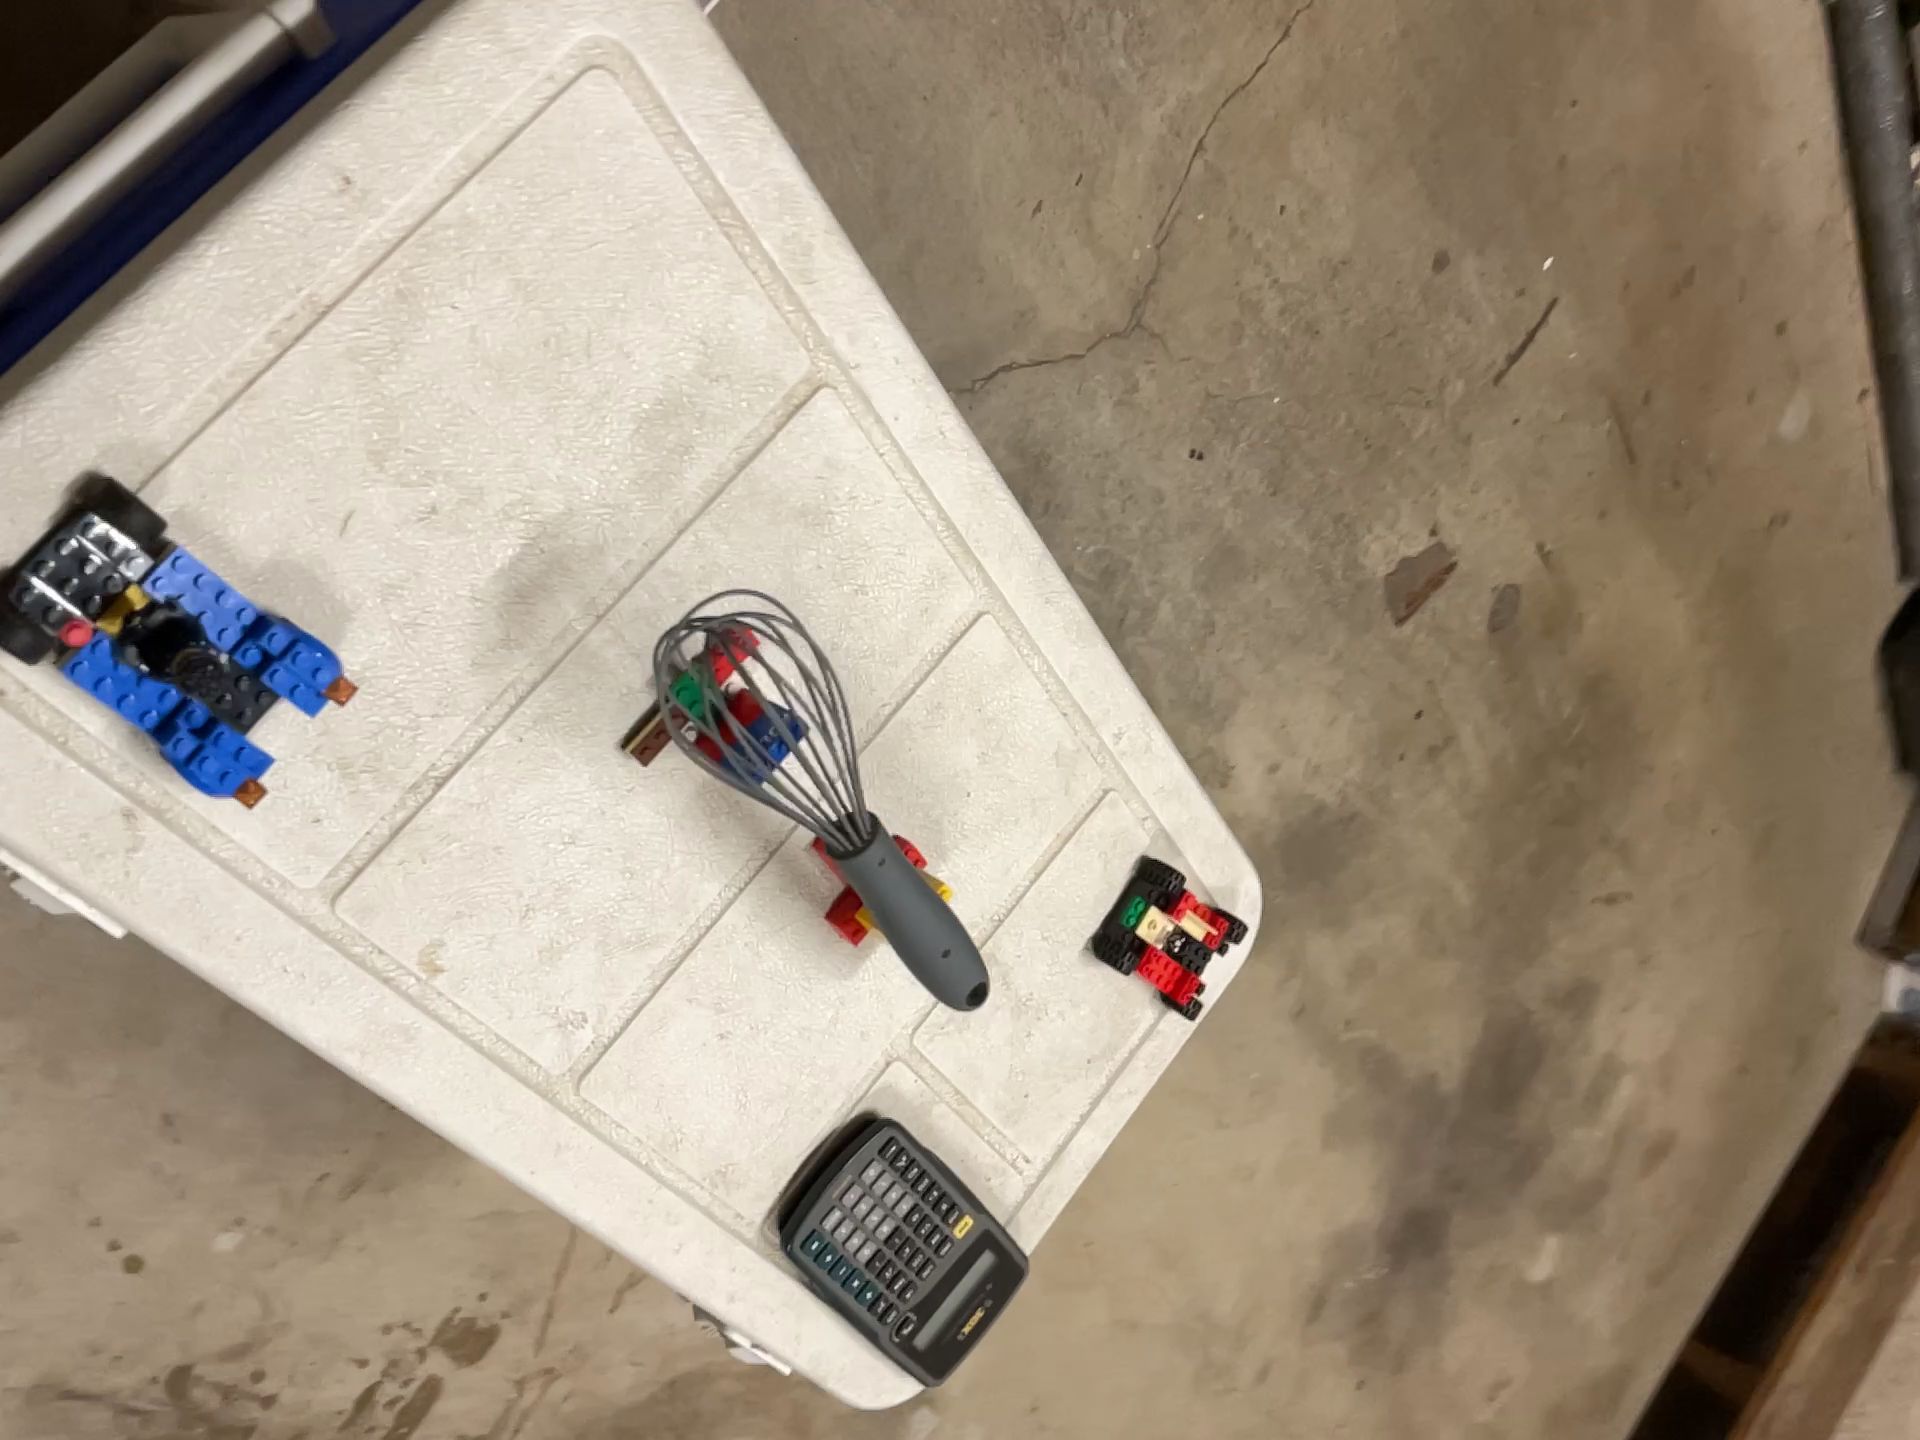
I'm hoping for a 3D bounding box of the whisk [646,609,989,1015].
[{"bbox_3d":[-0.041,0.043,0.581,0.055,0.055,0.239,-45,134,-15],"label":"whisk"}]
